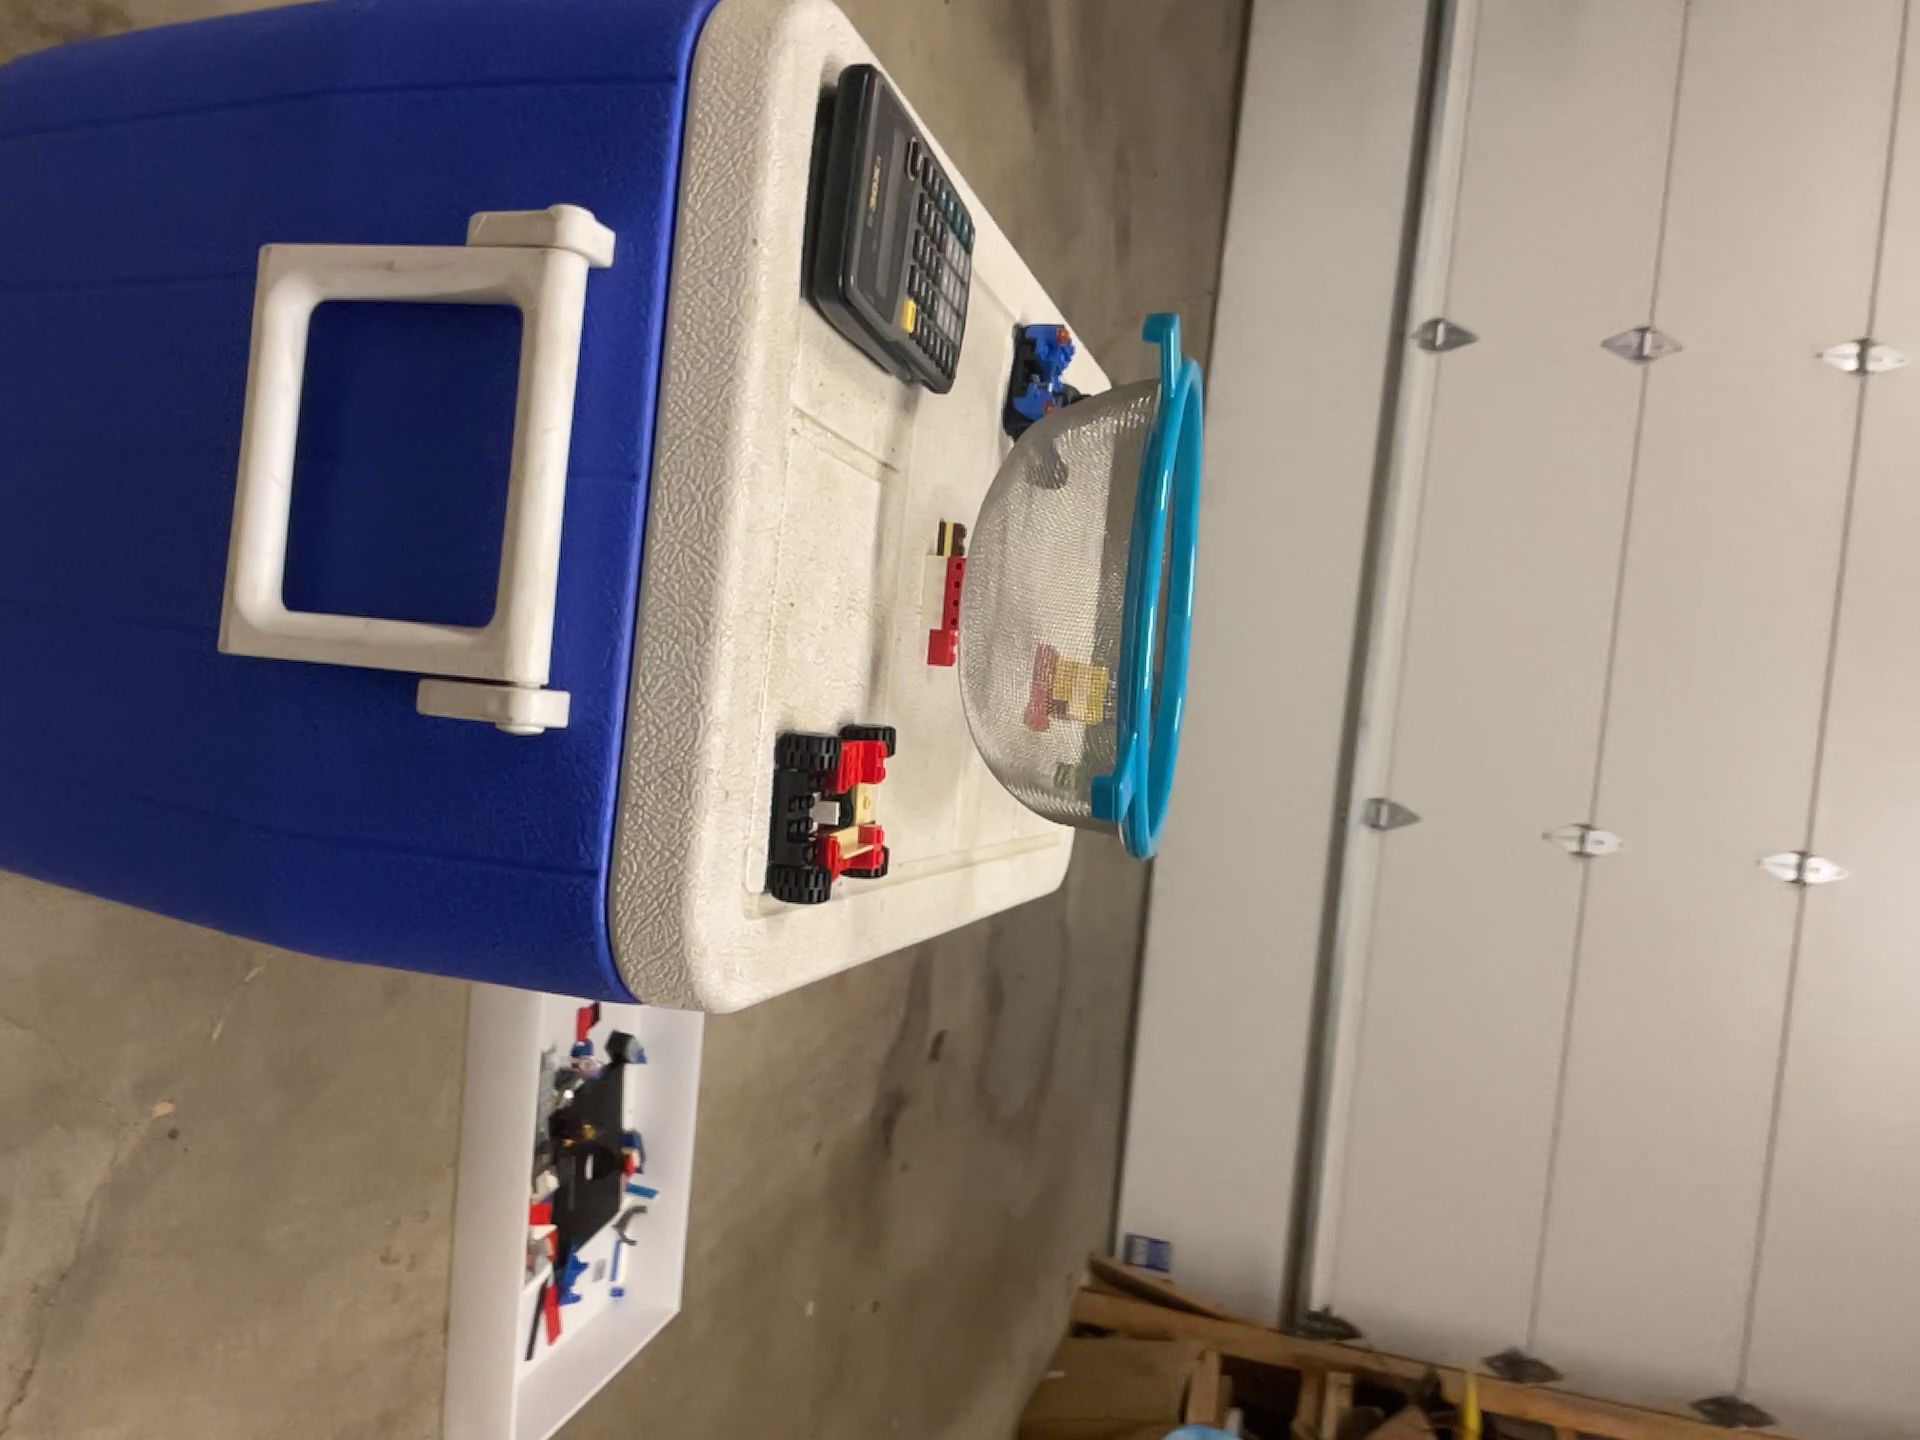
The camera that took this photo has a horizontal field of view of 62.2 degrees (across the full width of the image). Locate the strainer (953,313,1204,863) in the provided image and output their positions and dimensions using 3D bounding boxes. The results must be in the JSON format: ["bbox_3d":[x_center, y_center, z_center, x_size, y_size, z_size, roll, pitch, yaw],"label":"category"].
[{"bbox_3d":[0.058,-0.039,0.742,0.340,0.095,0.211,44,52,-77],"label":"strainer"}]
